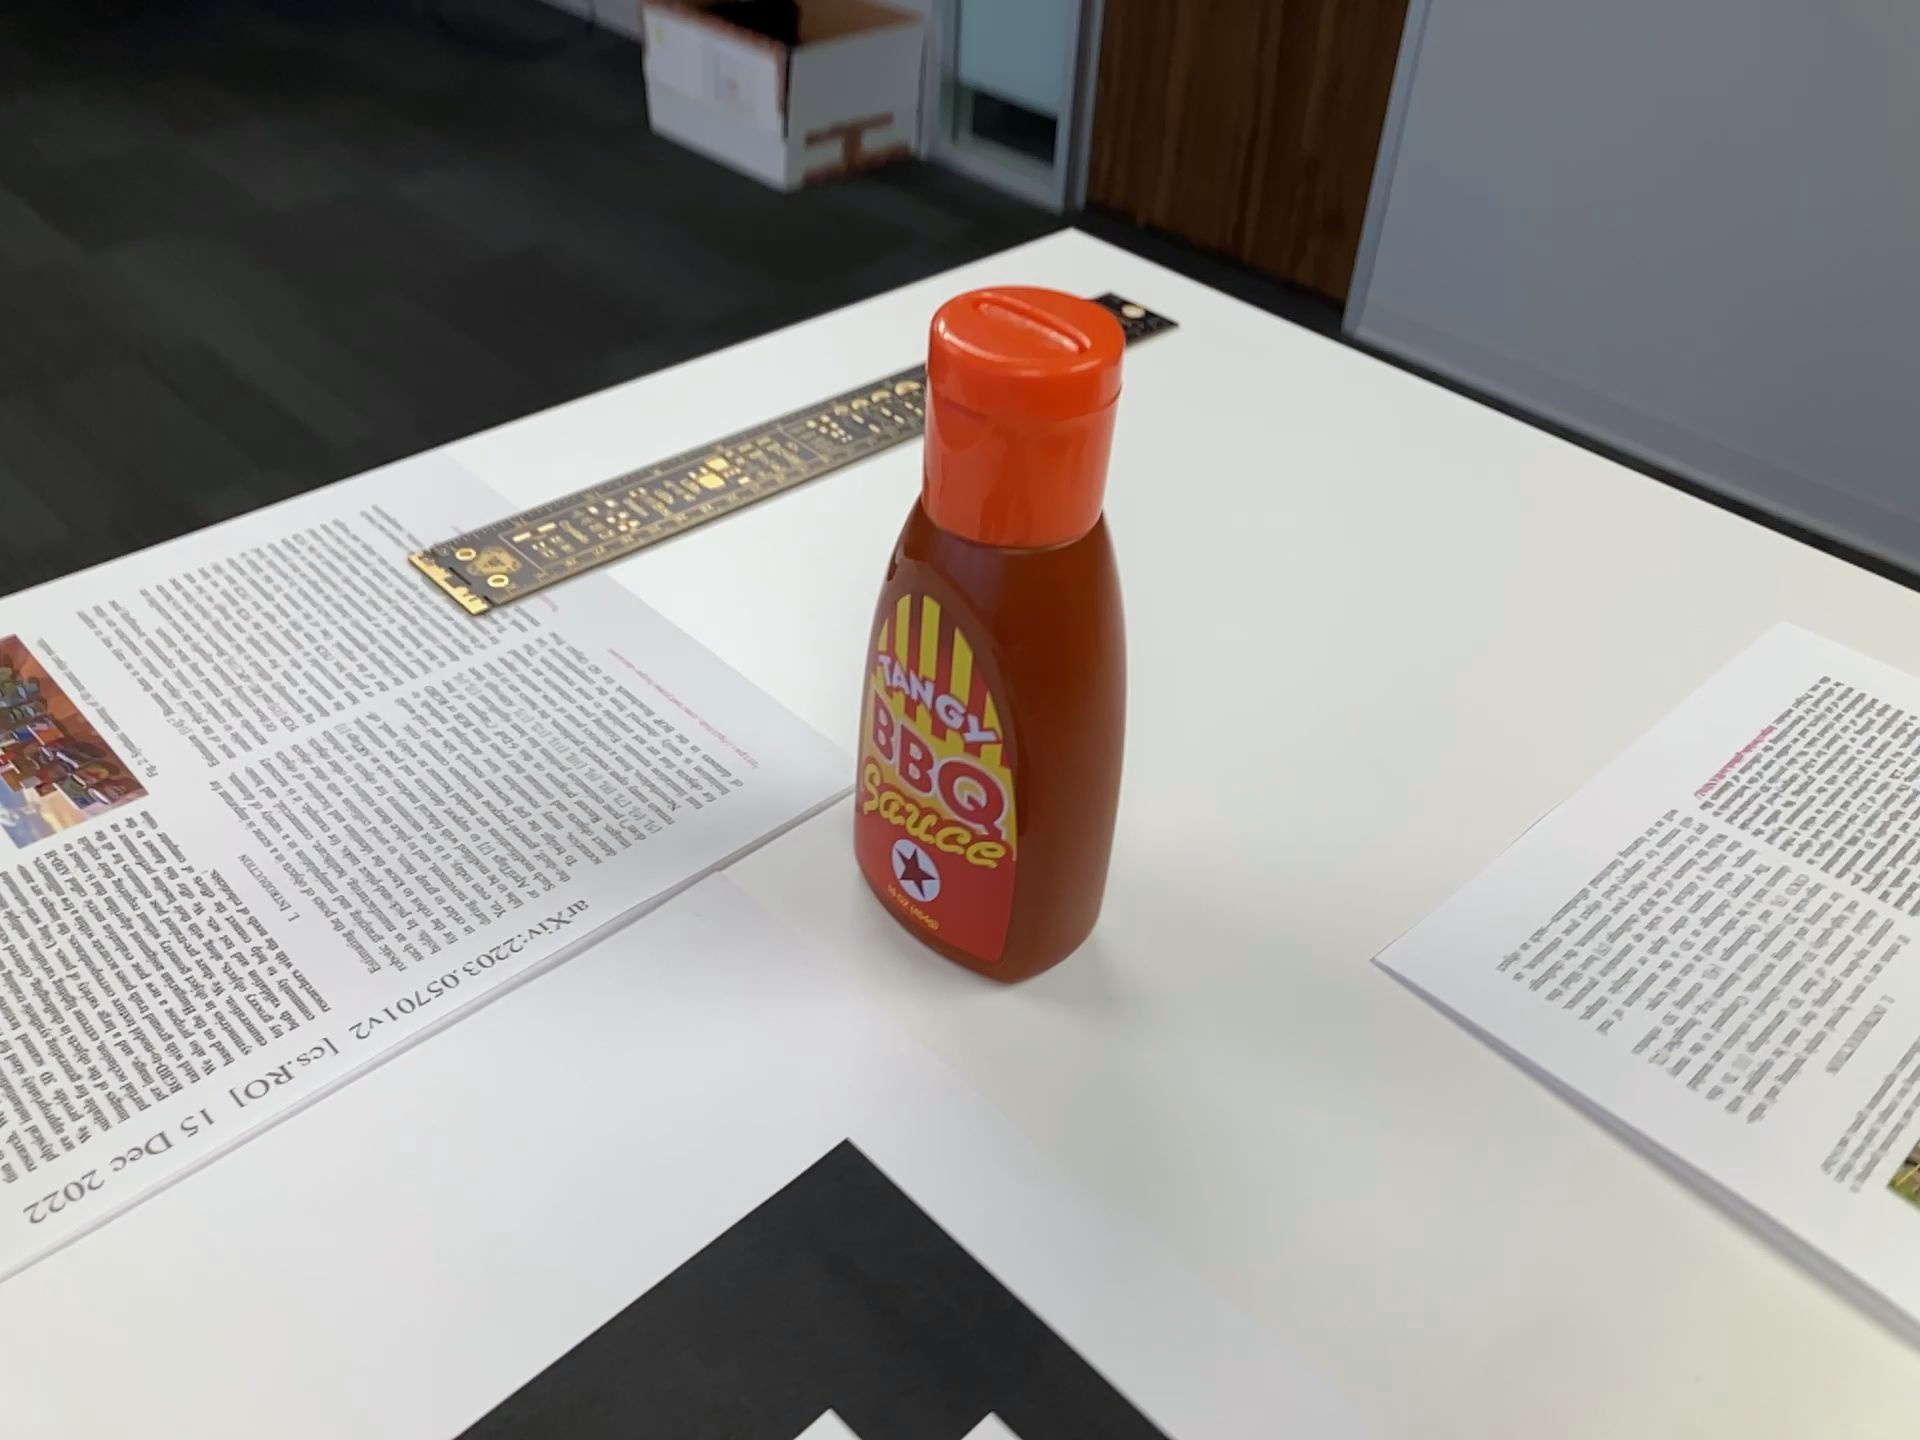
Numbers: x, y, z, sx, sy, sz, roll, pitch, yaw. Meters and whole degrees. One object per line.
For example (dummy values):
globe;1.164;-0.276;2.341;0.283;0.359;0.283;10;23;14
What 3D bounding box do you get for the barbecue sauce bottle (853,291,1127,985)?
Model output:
barbecue sauce bottle;0.008;-0.014;0.338;0.043;0.148;0.065;-28;49;-34
